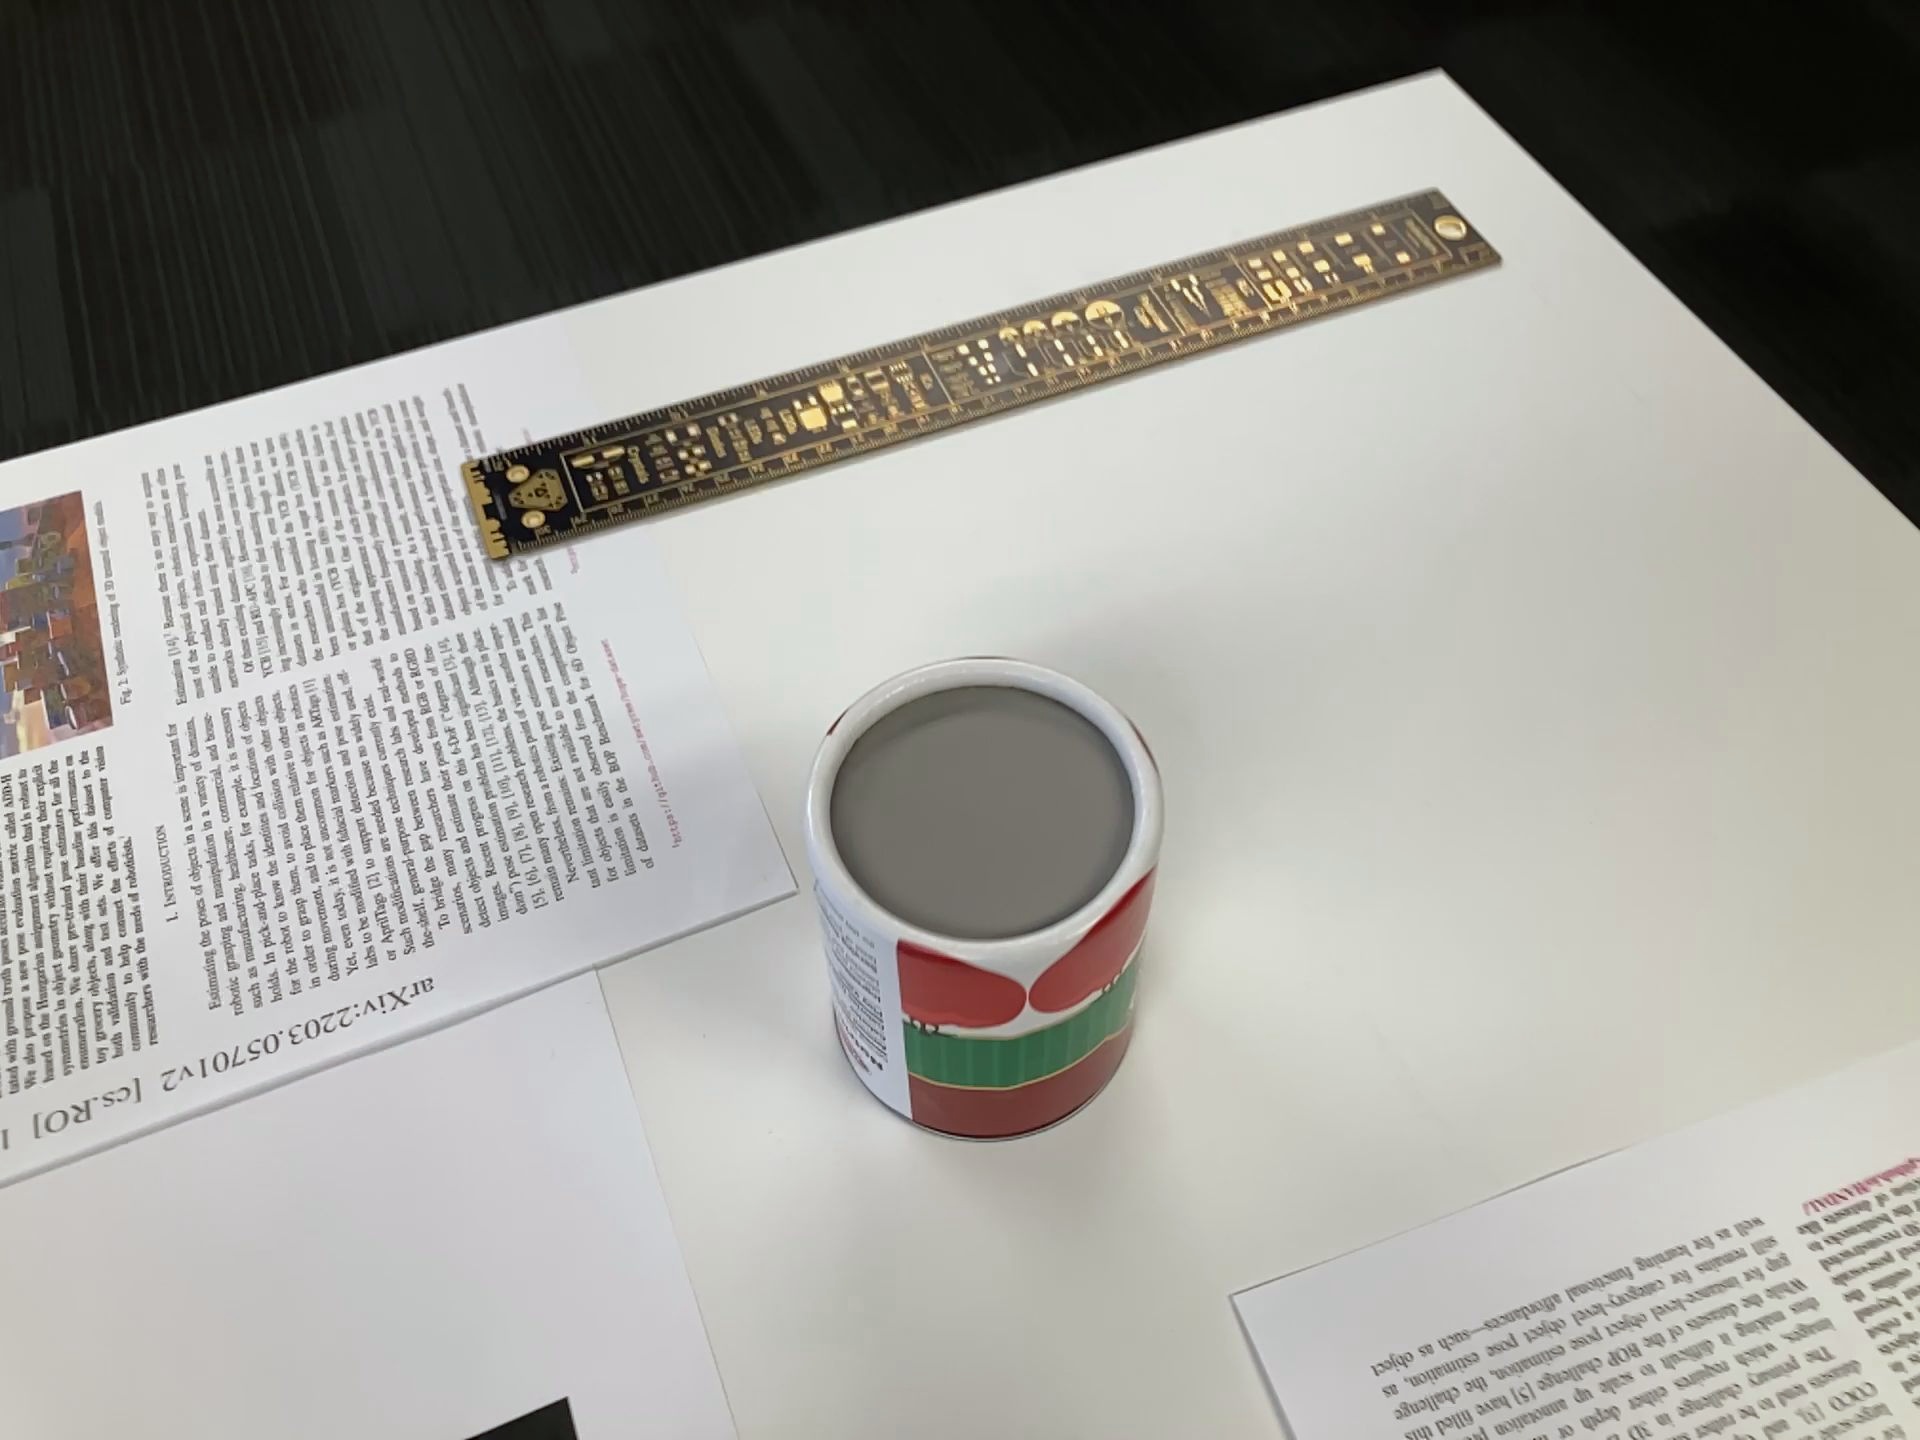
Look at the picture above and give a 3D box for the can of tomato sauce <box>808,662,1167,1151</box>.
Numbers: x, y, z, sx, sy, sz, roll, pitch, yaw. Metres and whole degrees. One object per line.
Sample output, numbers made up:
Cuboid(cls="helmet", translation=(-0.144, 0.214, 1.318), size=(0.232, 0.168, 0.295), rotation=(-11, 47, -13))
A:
Cuboid(cls="can of tomato sauce", translation=(0.007, 0.038, 0.320), size=(0.071, 0.083, 0.071), rotation=(-1, 52, 1))
